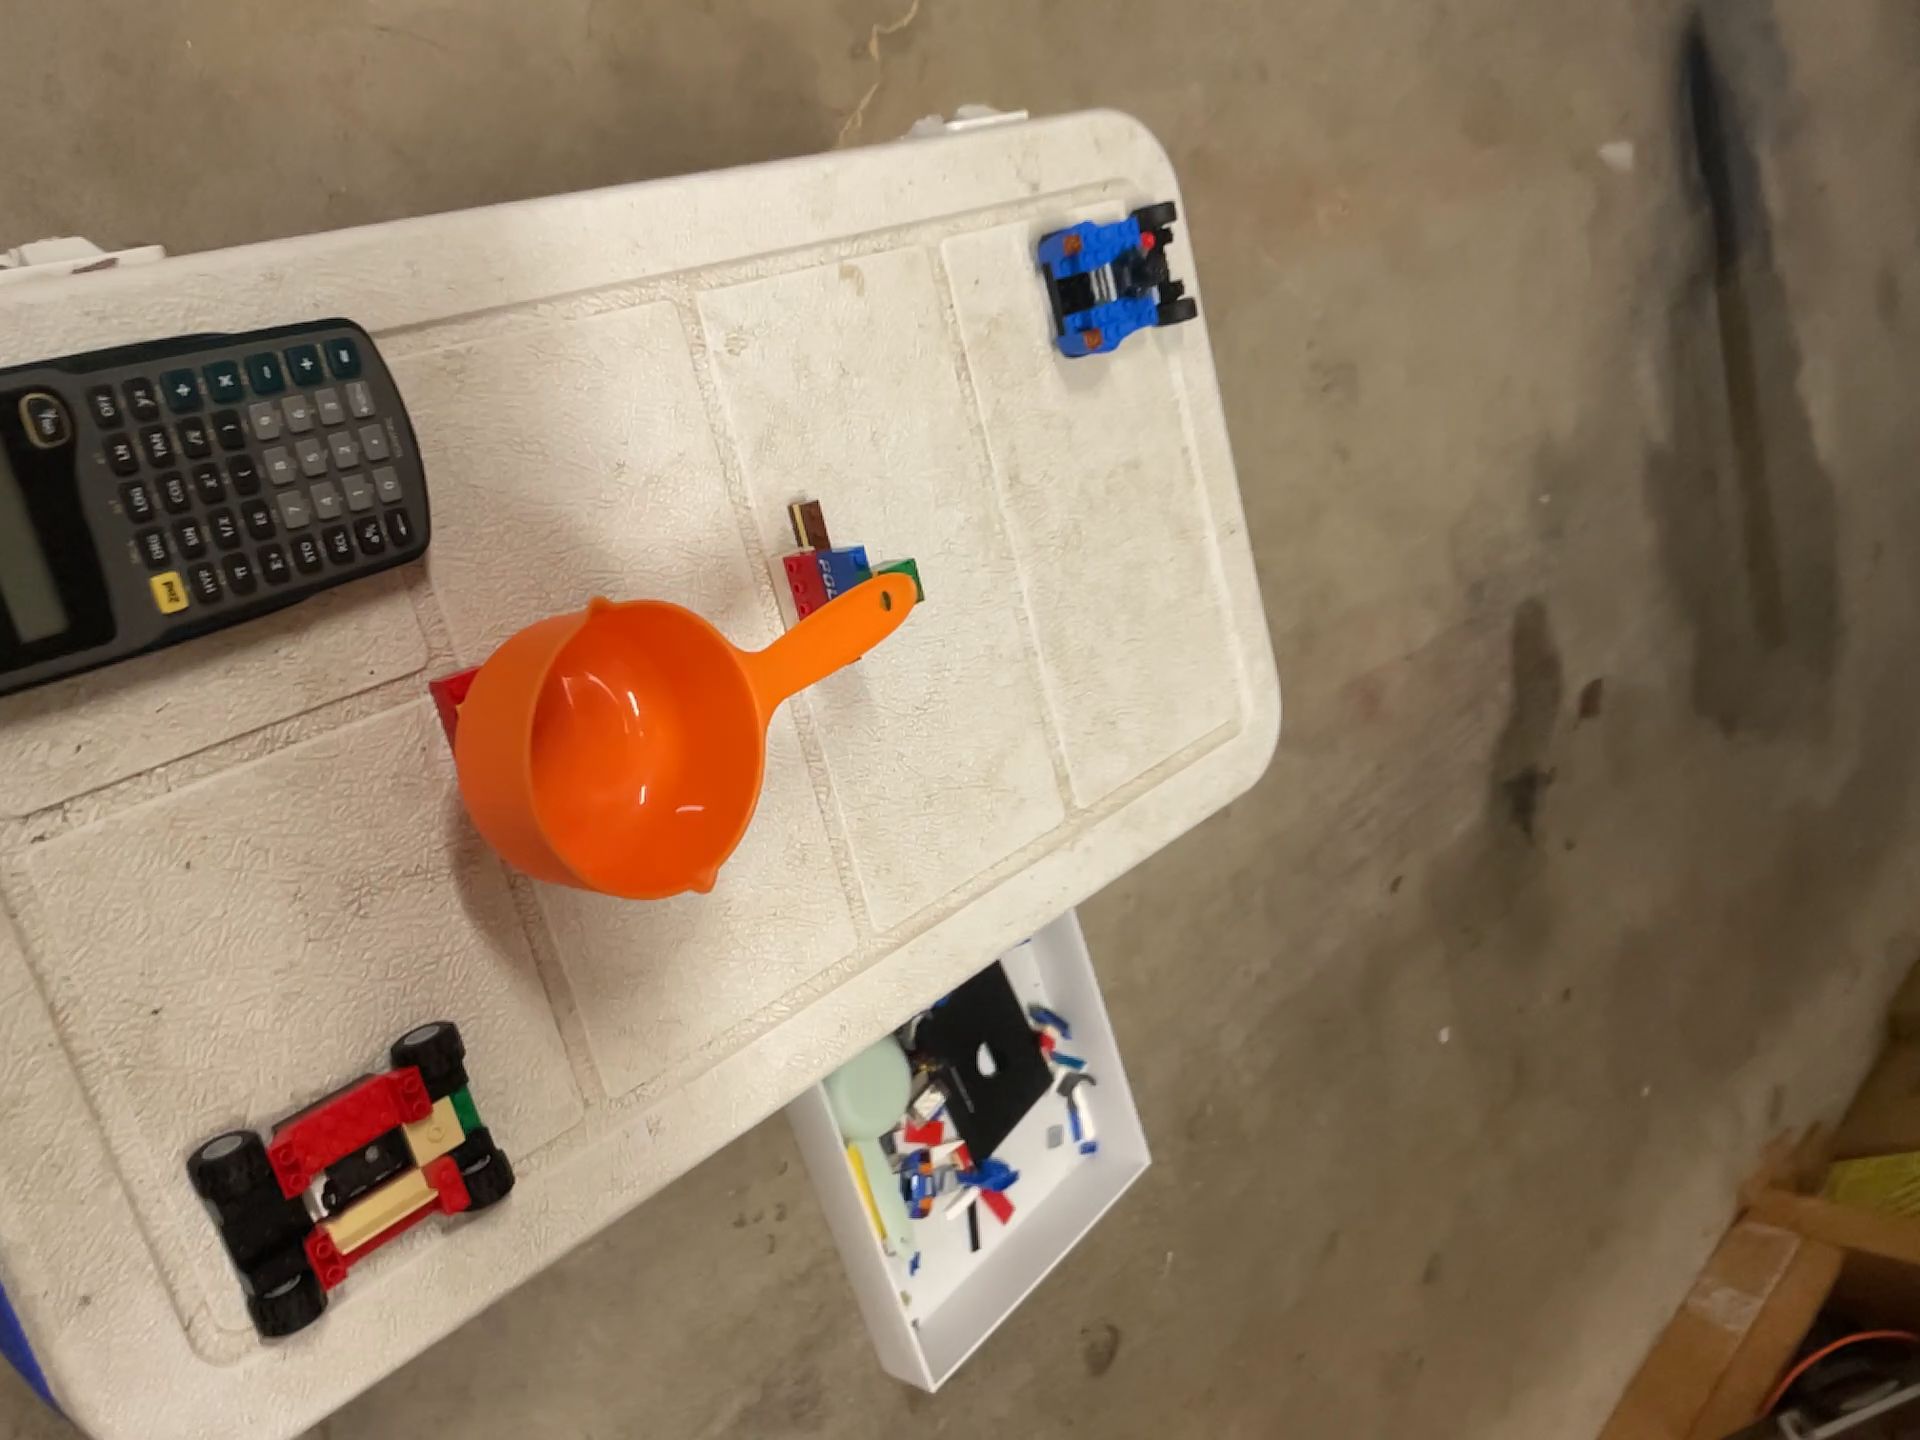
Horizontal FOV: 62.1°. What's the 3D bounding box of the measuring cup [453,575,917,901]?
[{"bbox_3d":[-0.083,-0.009,0.510,0.174,0.052,0.095,-36,115,-44],"label":"measuring cup"}]
